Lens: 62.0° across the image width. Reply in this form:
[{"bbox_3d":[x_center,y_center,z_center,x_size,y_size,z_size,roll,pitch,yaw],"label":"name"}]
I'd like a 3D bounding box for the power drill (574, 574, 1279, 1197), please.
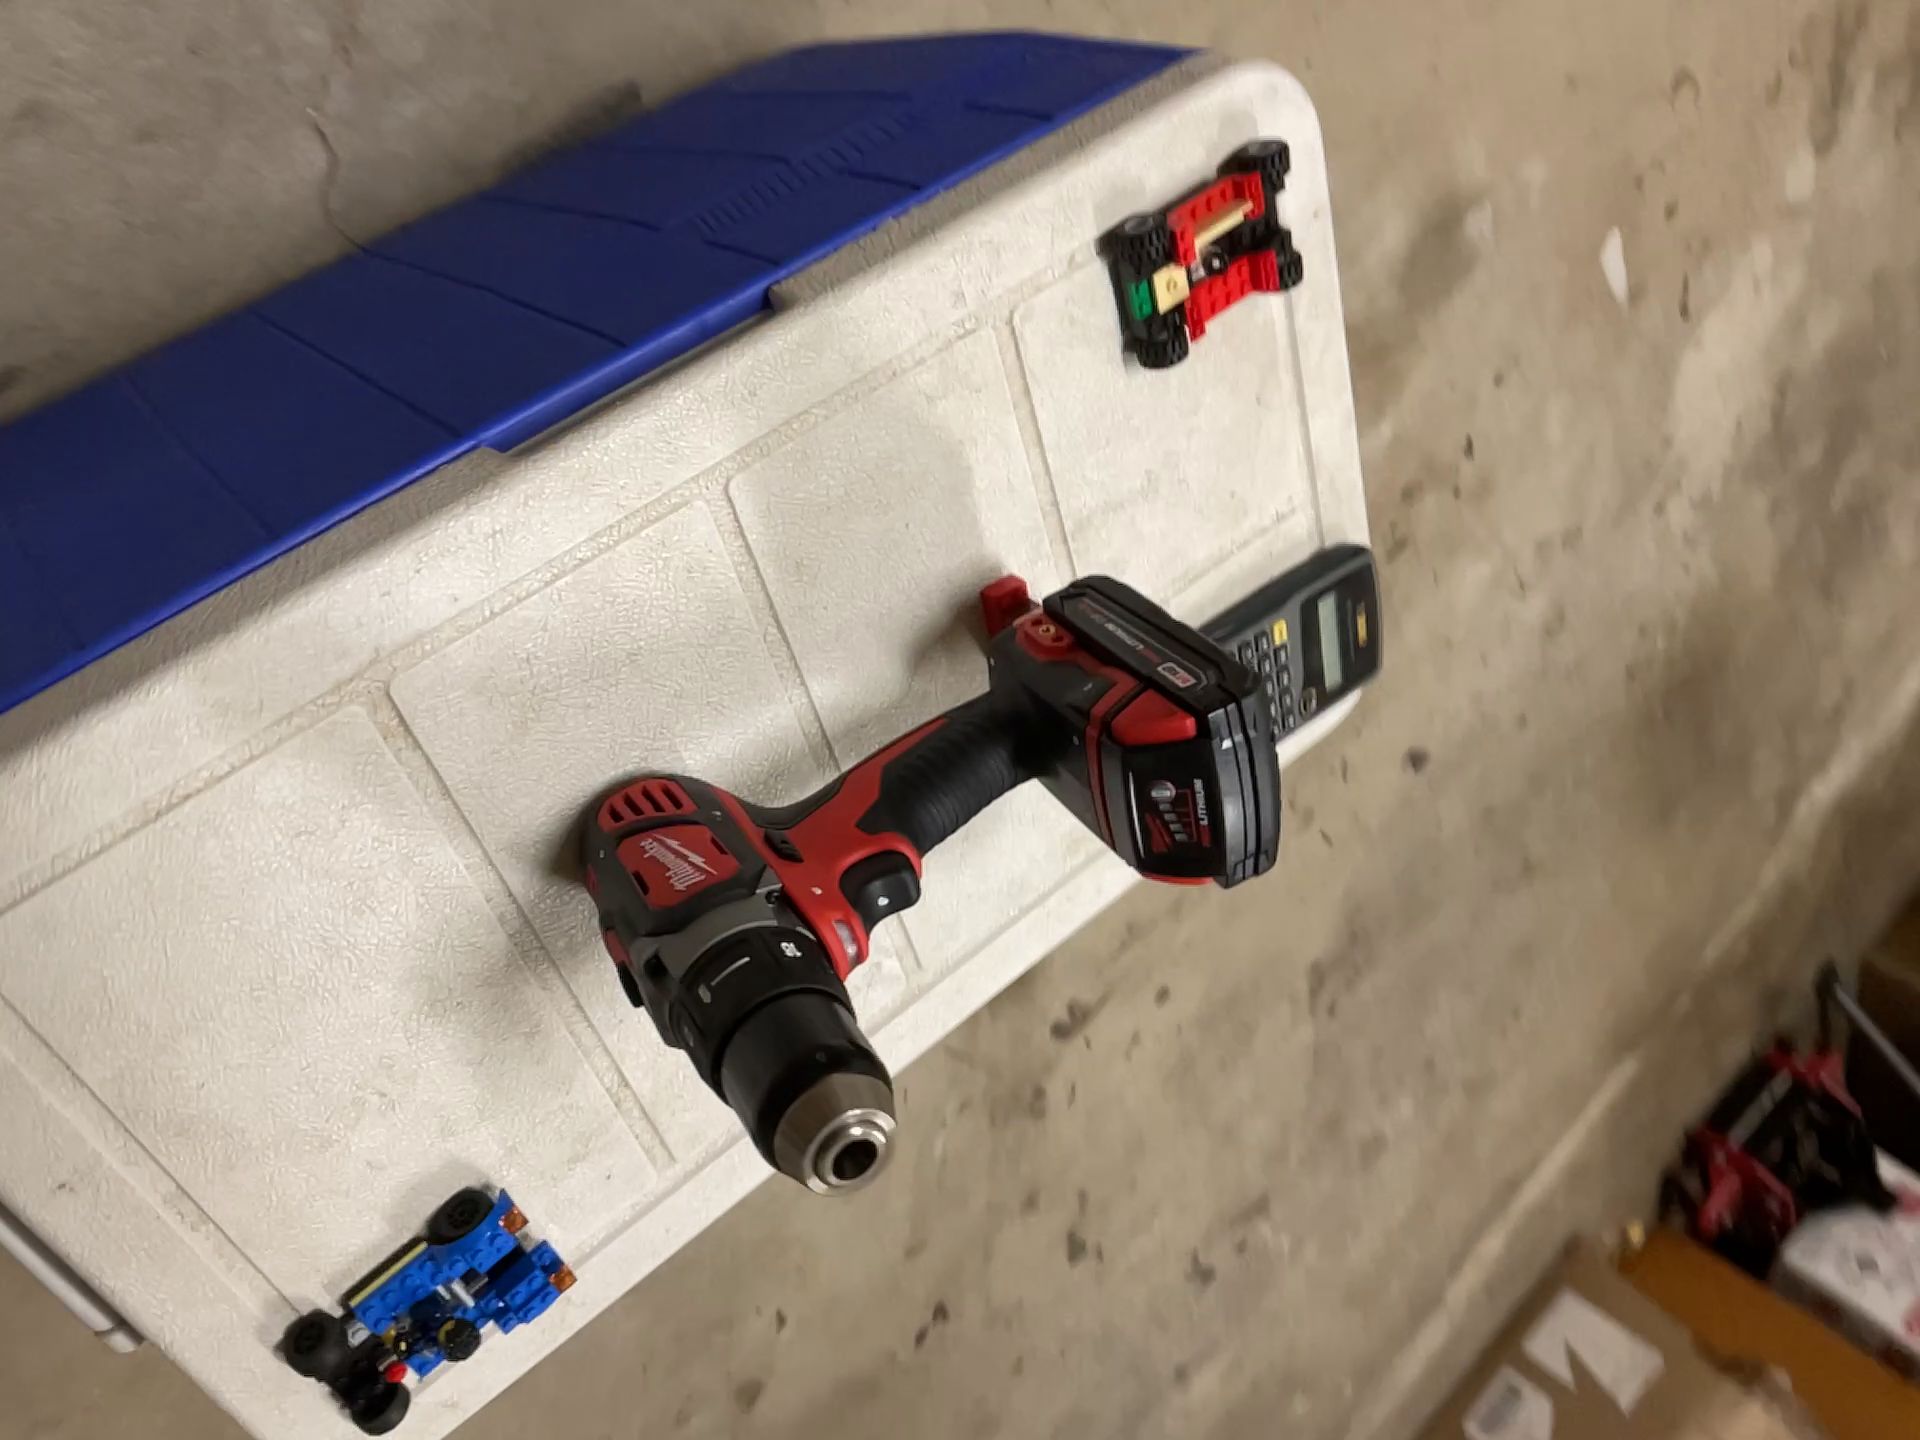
[{"bbox_3d":[-0.003,0.048,0.533,0.227,0.188,0.080,-24,125,-17],"label":"power drill"}]
